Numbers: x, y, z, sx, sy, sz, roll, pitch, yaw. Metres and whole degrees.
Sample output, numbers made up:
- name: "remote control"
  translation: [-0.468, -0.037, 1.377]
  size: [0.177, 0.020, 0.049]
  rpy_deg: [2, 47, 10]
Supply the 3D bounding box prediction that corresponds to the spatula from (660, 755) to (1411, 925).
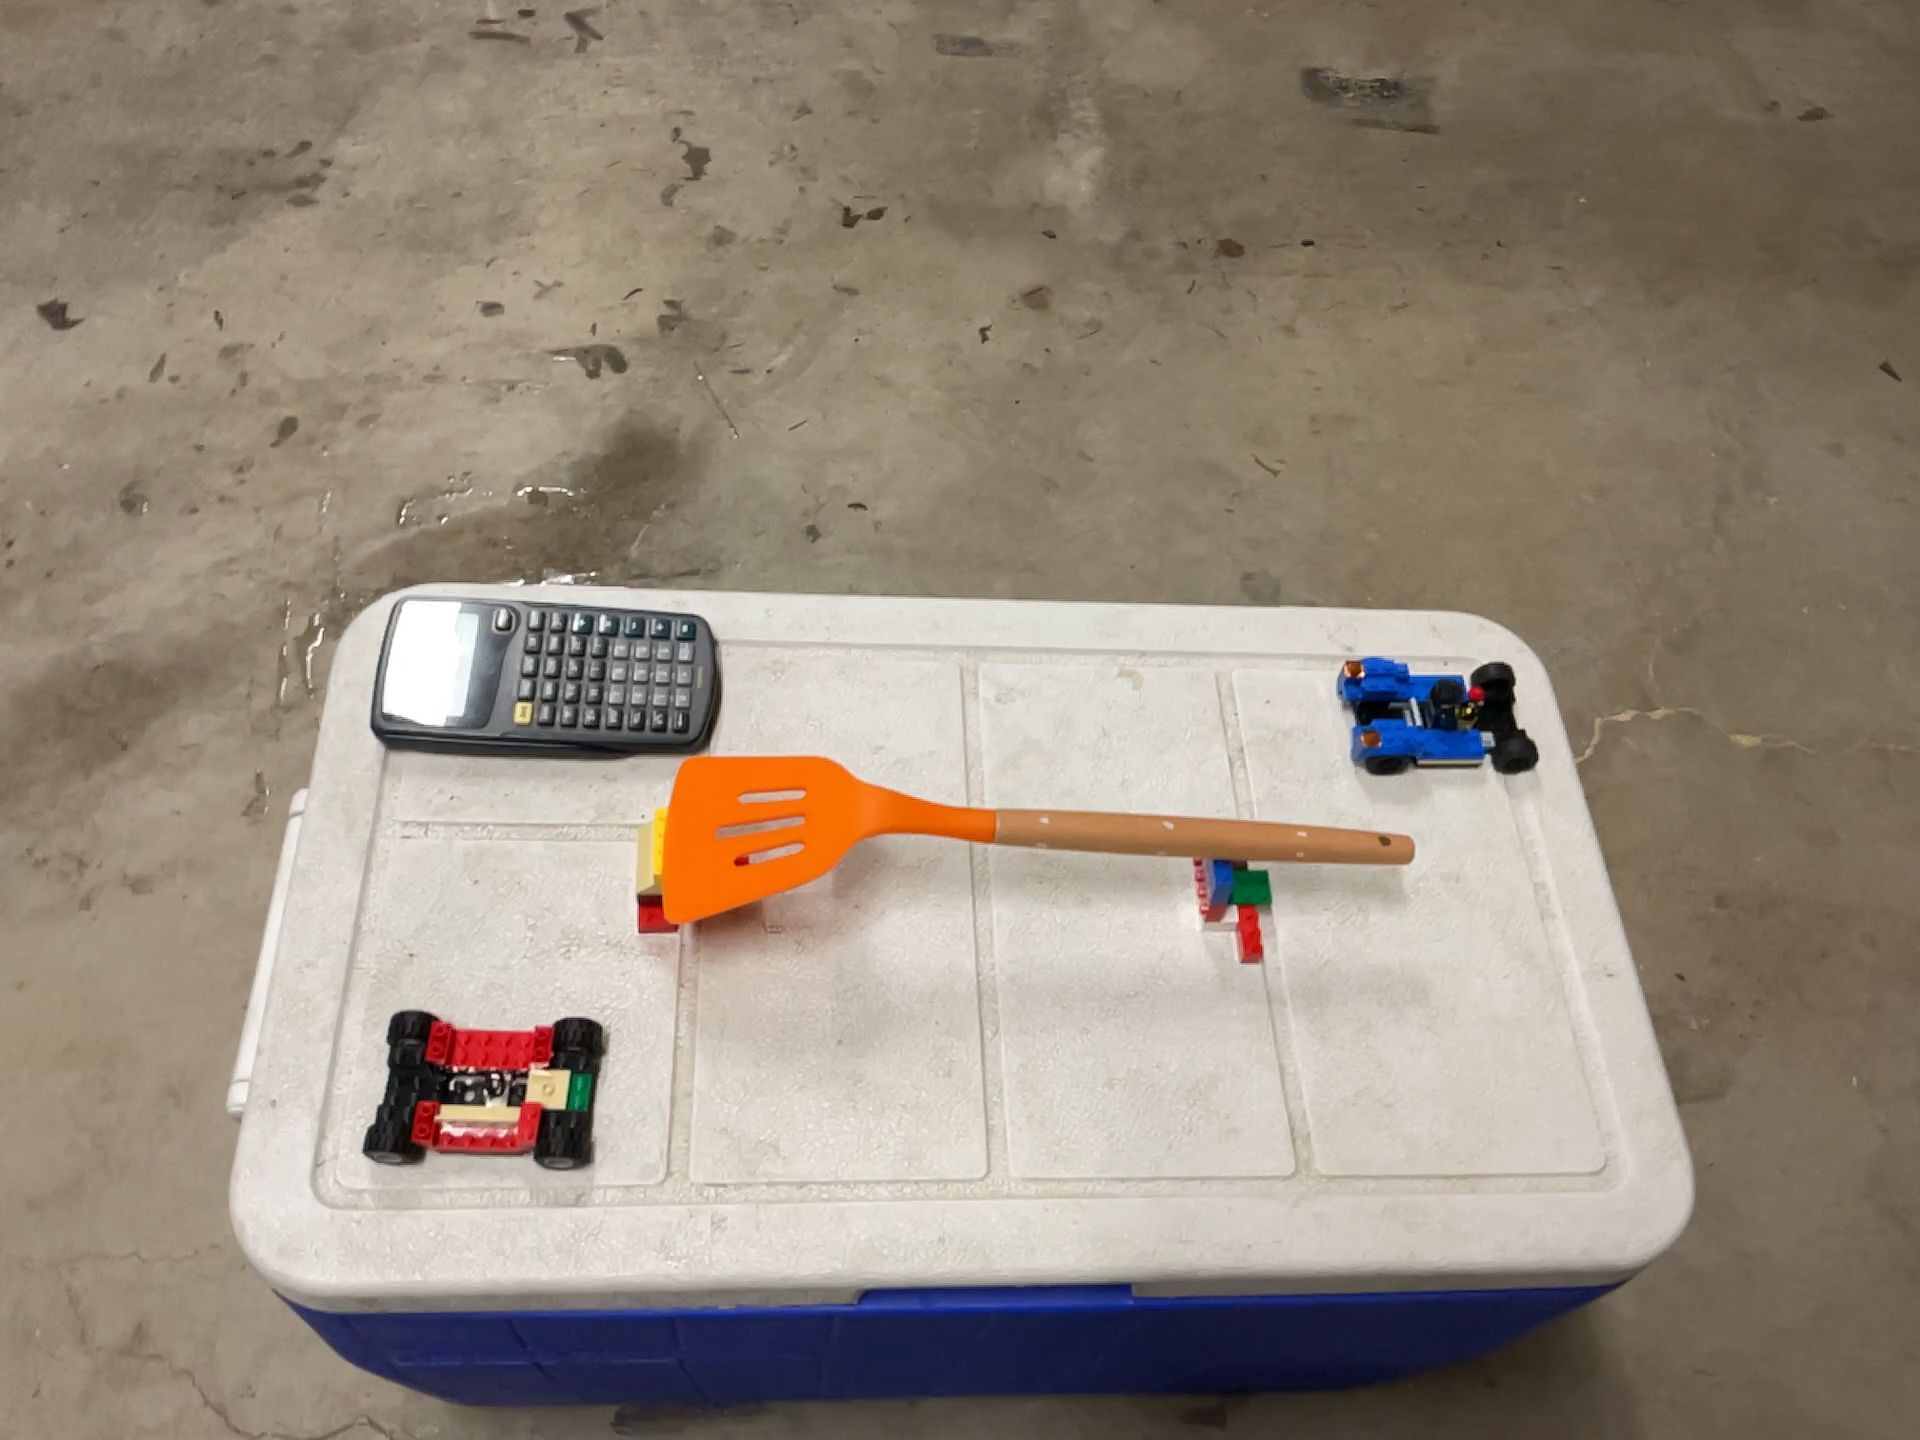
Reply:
- name: "spatula"
  translation: [0.035, 0.051, 0.685]
  size: [0.322, 0.041, 0.081]
  rpy_deg: [4, 56, -9]
